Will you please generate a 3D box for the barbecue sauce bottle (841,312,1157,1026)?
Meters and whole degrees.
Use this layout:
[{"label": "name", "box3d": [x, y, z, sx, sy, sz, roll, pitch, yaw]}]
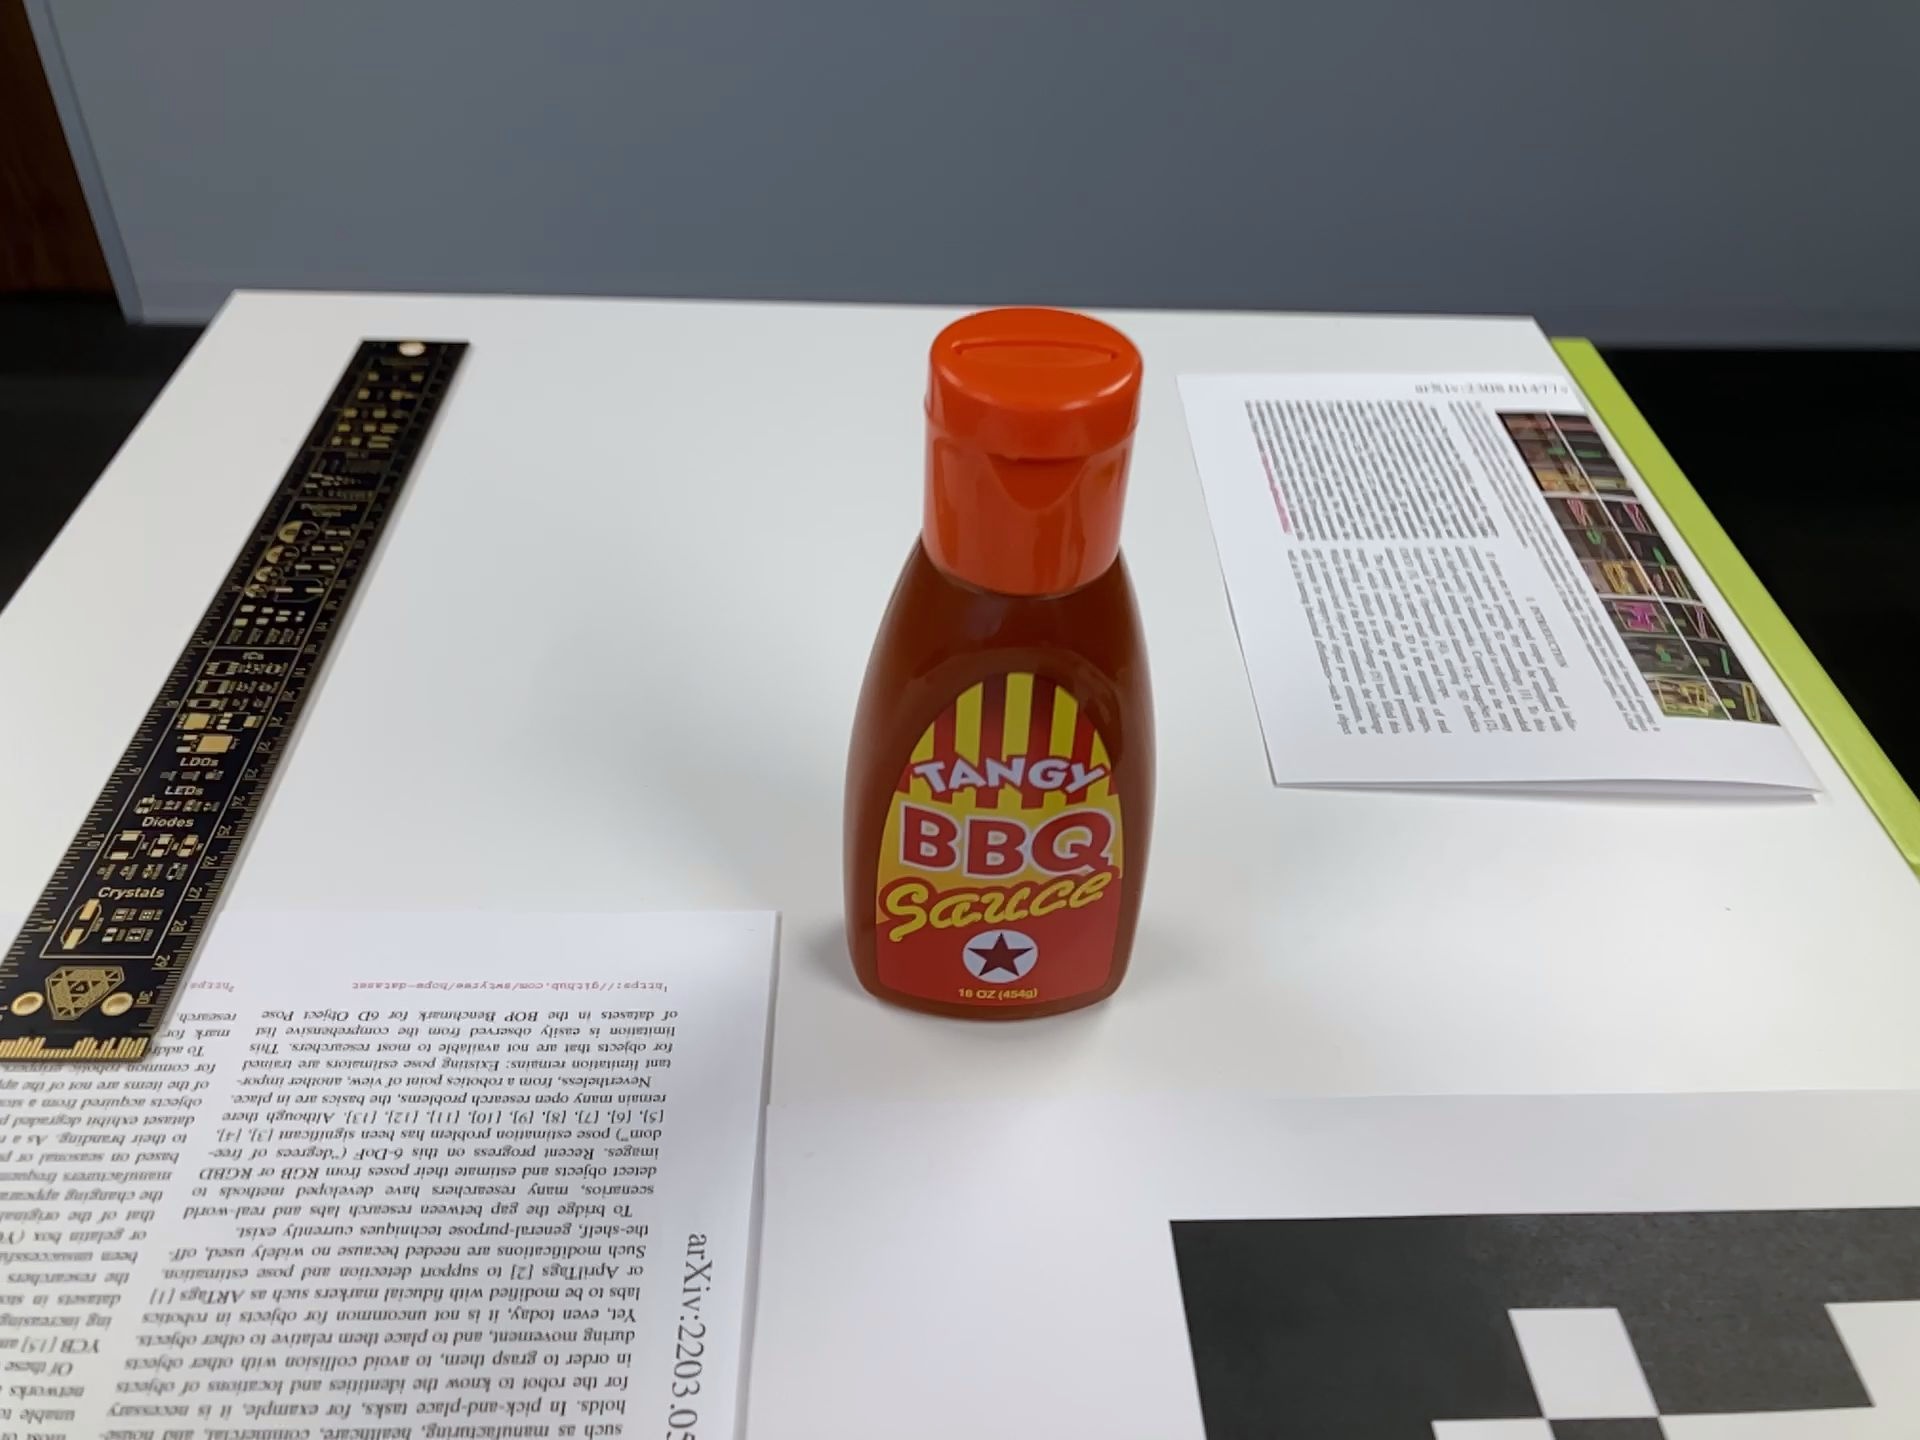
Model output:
[{"label": "barbecue sauce bottle", "box3d": [0.009, -0.004, 0.312, 0.065, 0.148, 0.043, 2, 39, -2]}]
